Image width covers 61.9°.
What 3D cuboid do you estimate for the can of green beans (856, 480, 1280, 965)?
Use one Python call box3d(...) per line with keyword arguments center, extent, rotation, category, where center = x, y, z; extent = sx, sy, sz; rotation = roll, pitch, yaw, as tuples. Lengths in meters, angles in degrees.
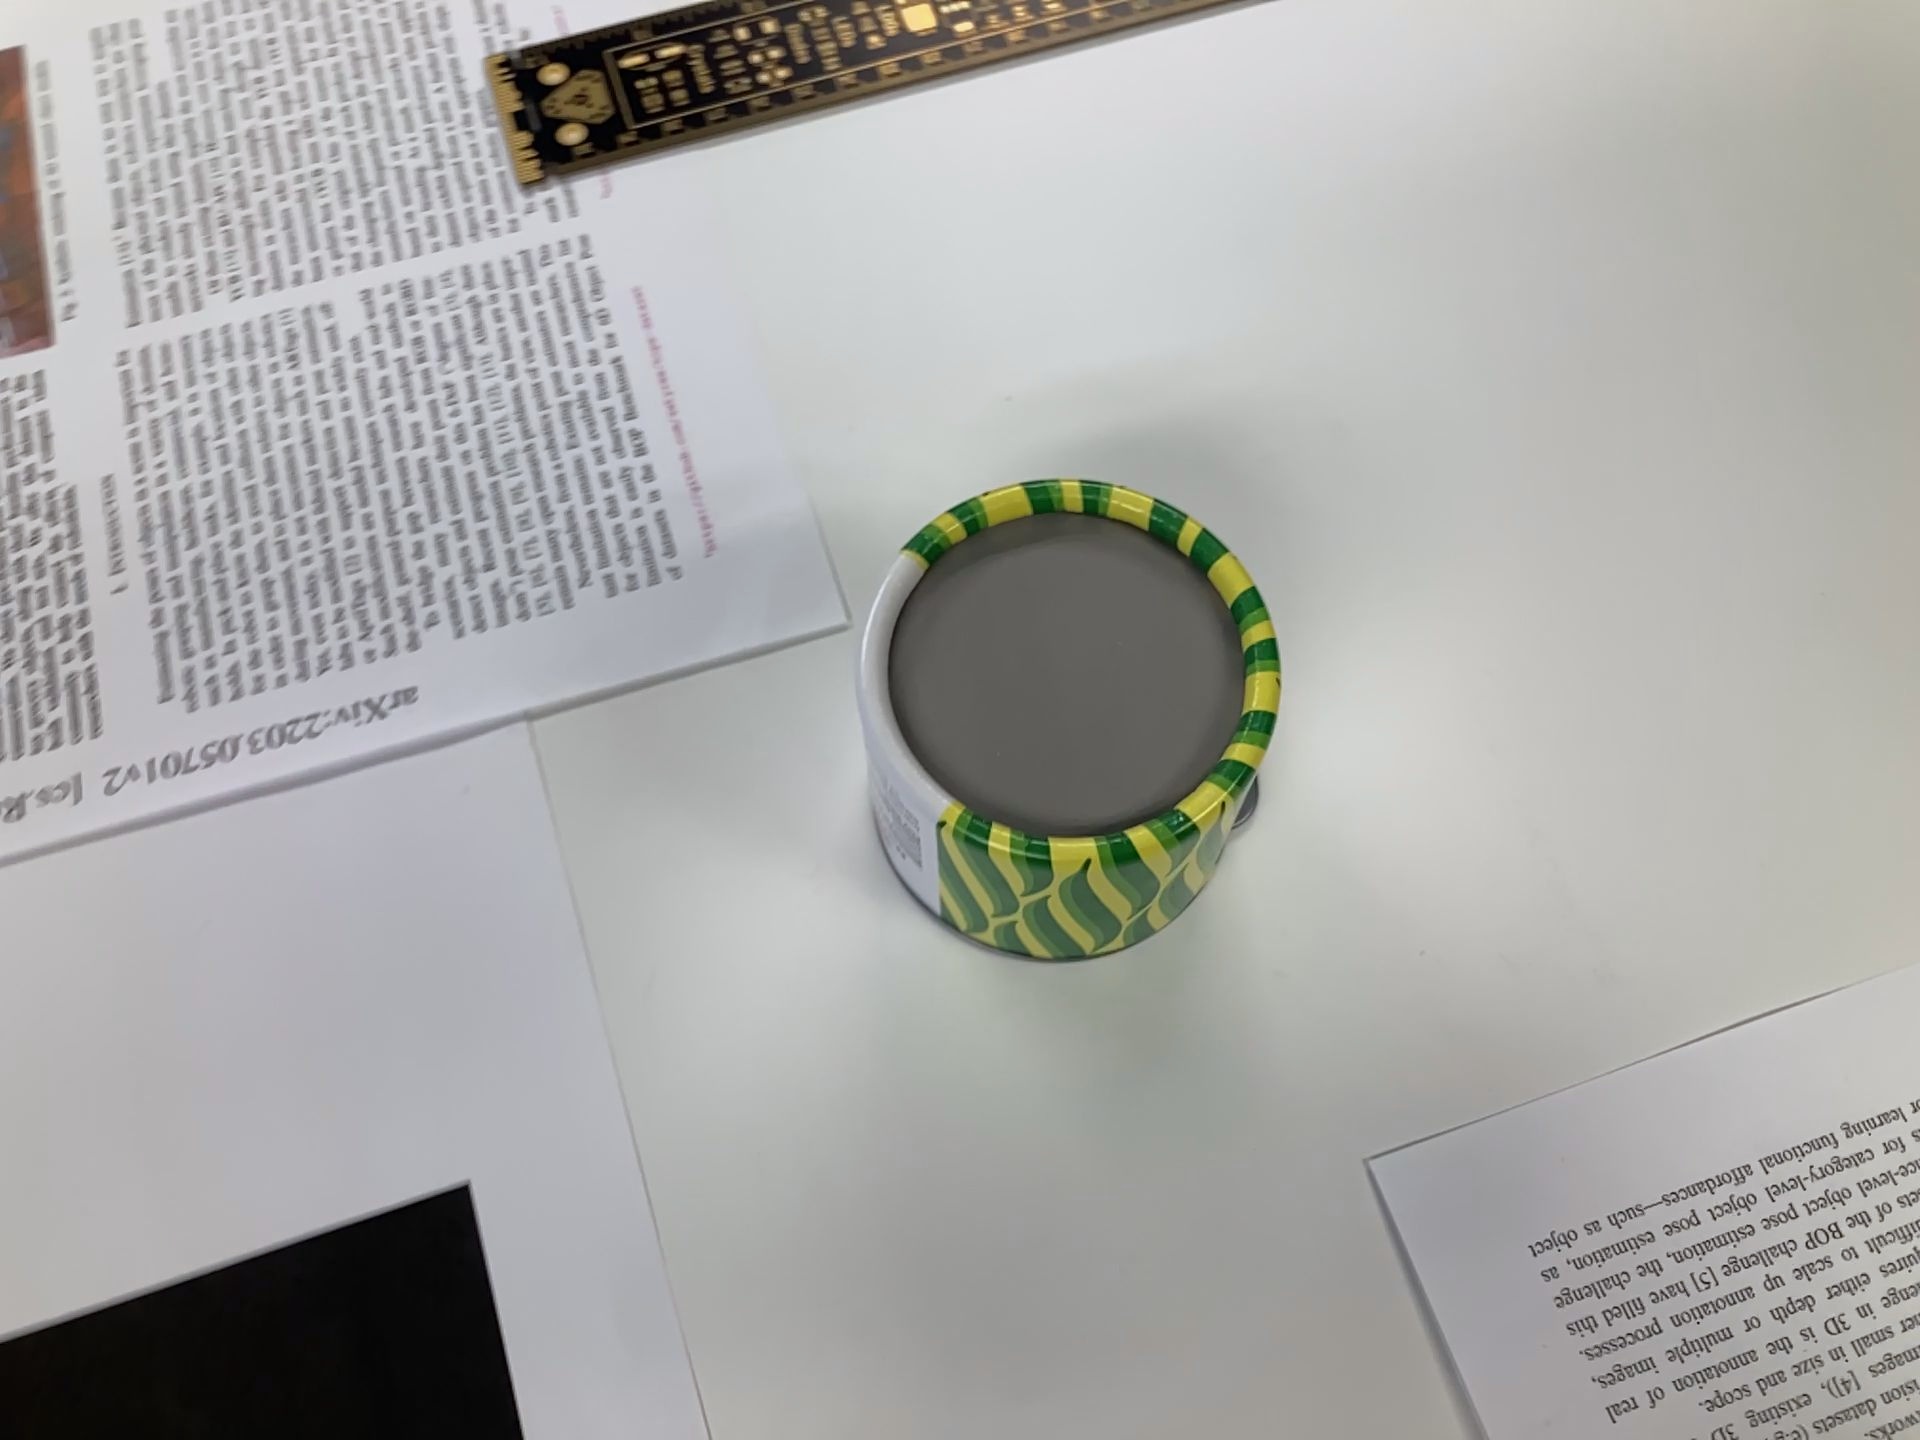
box3d(center=(0.017, 0.002, 0.270), extent=(0.071, 0.058, 0.071), rotation=(0, 67, 1), category="can of green beans")
